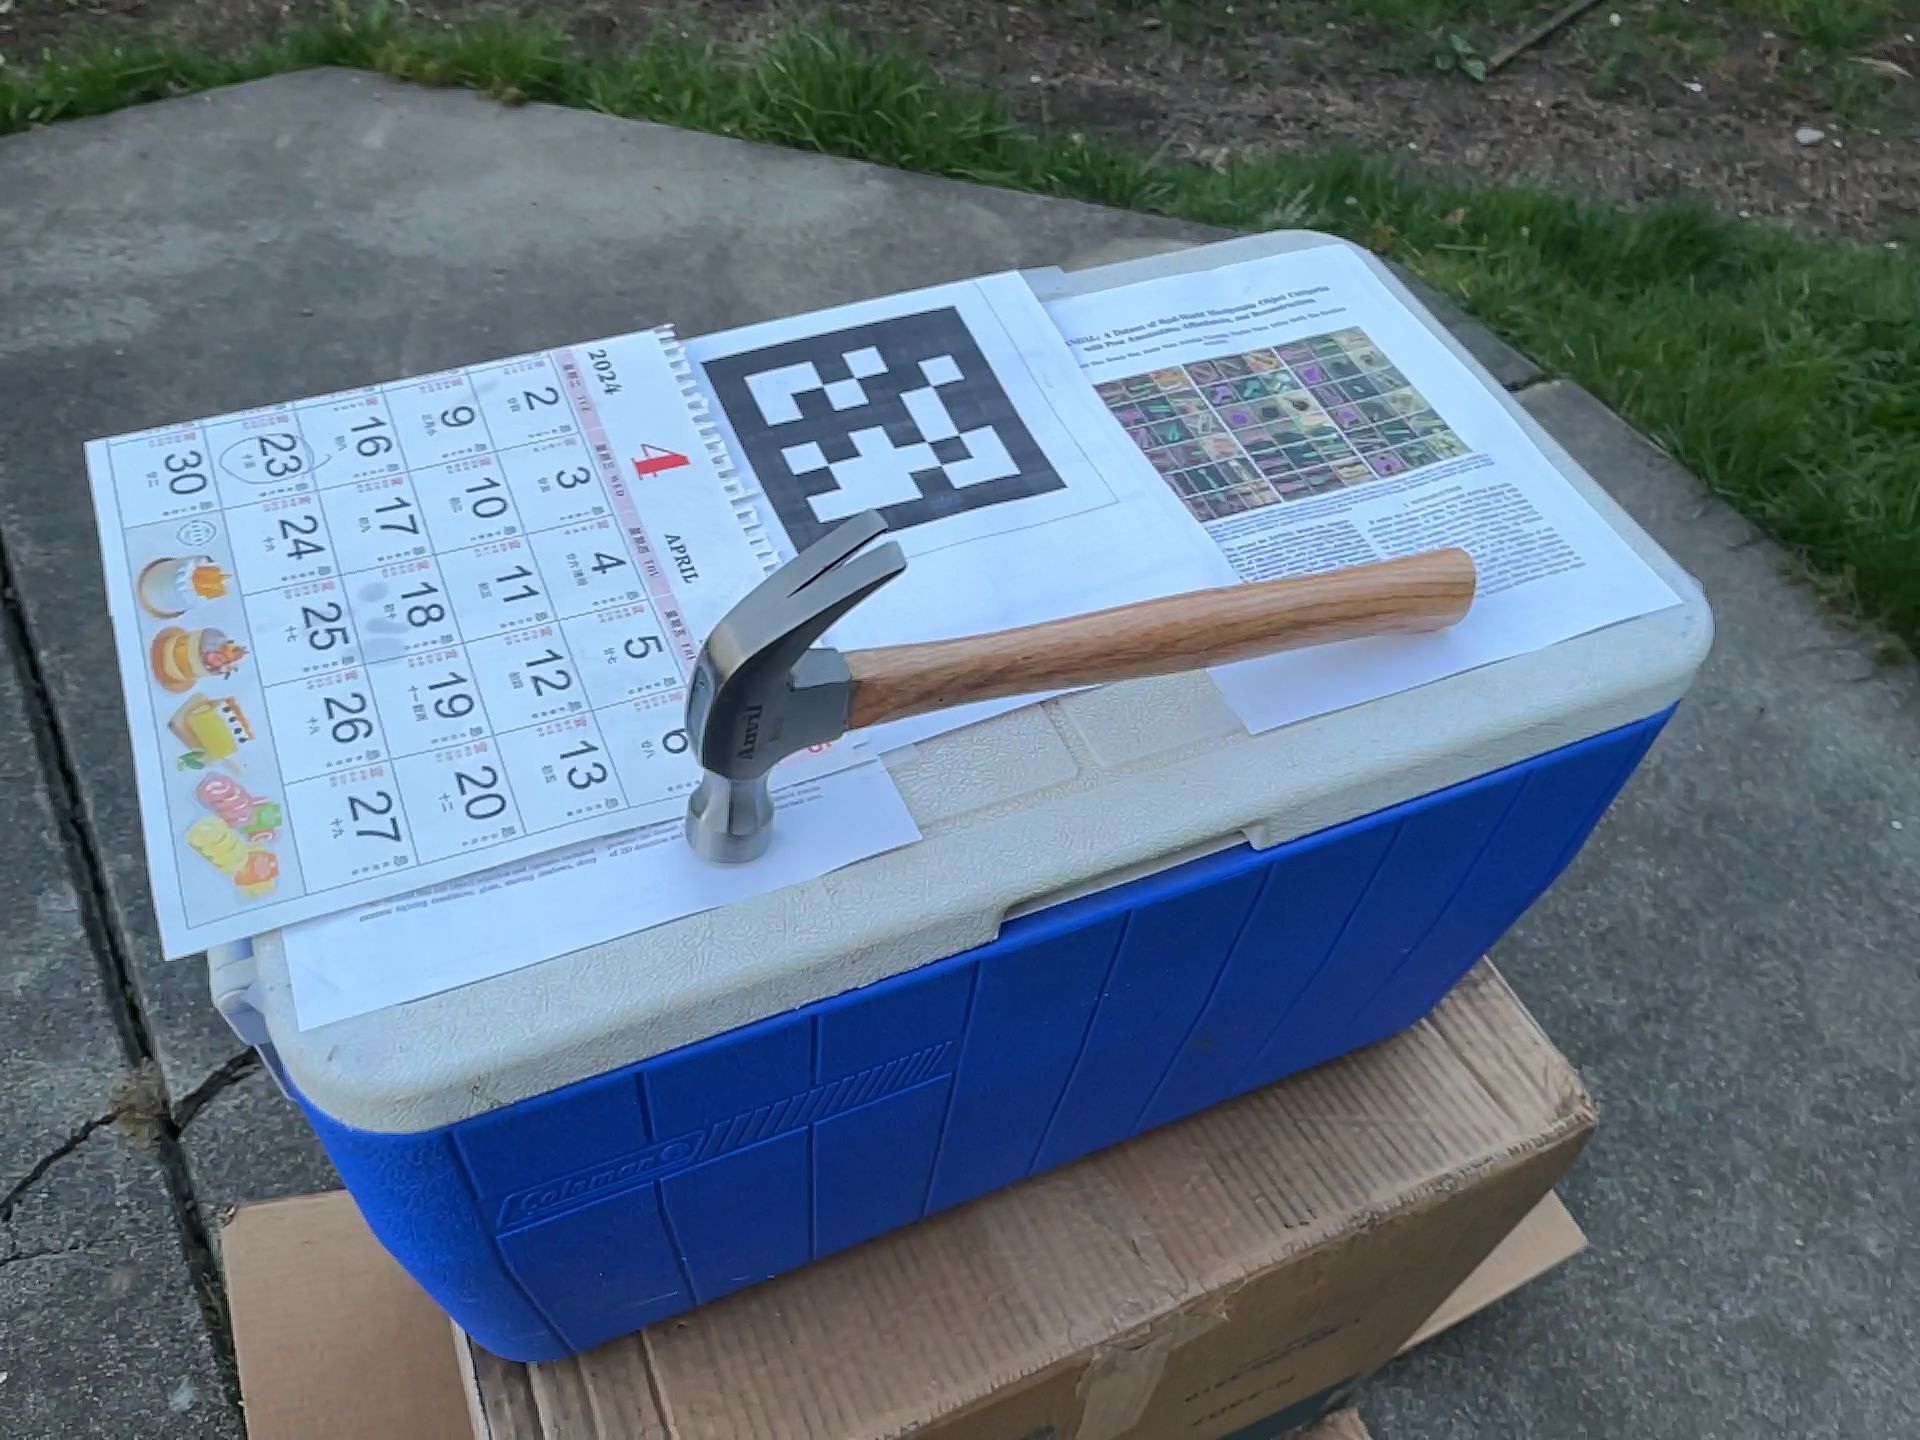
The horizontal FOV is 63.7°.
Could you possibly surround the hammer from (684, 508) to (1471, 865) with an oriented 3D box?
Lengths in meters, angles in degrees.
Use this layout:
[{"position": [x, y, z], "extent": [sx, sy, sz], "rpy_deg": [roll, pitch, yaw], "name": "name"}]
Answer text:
[{"position": [0.060, -0.030, 0.581], "extent": [0.331, 0.130, 0.031], "rpy_deg": [-11, 47, -25], "name": "hammer"}]
